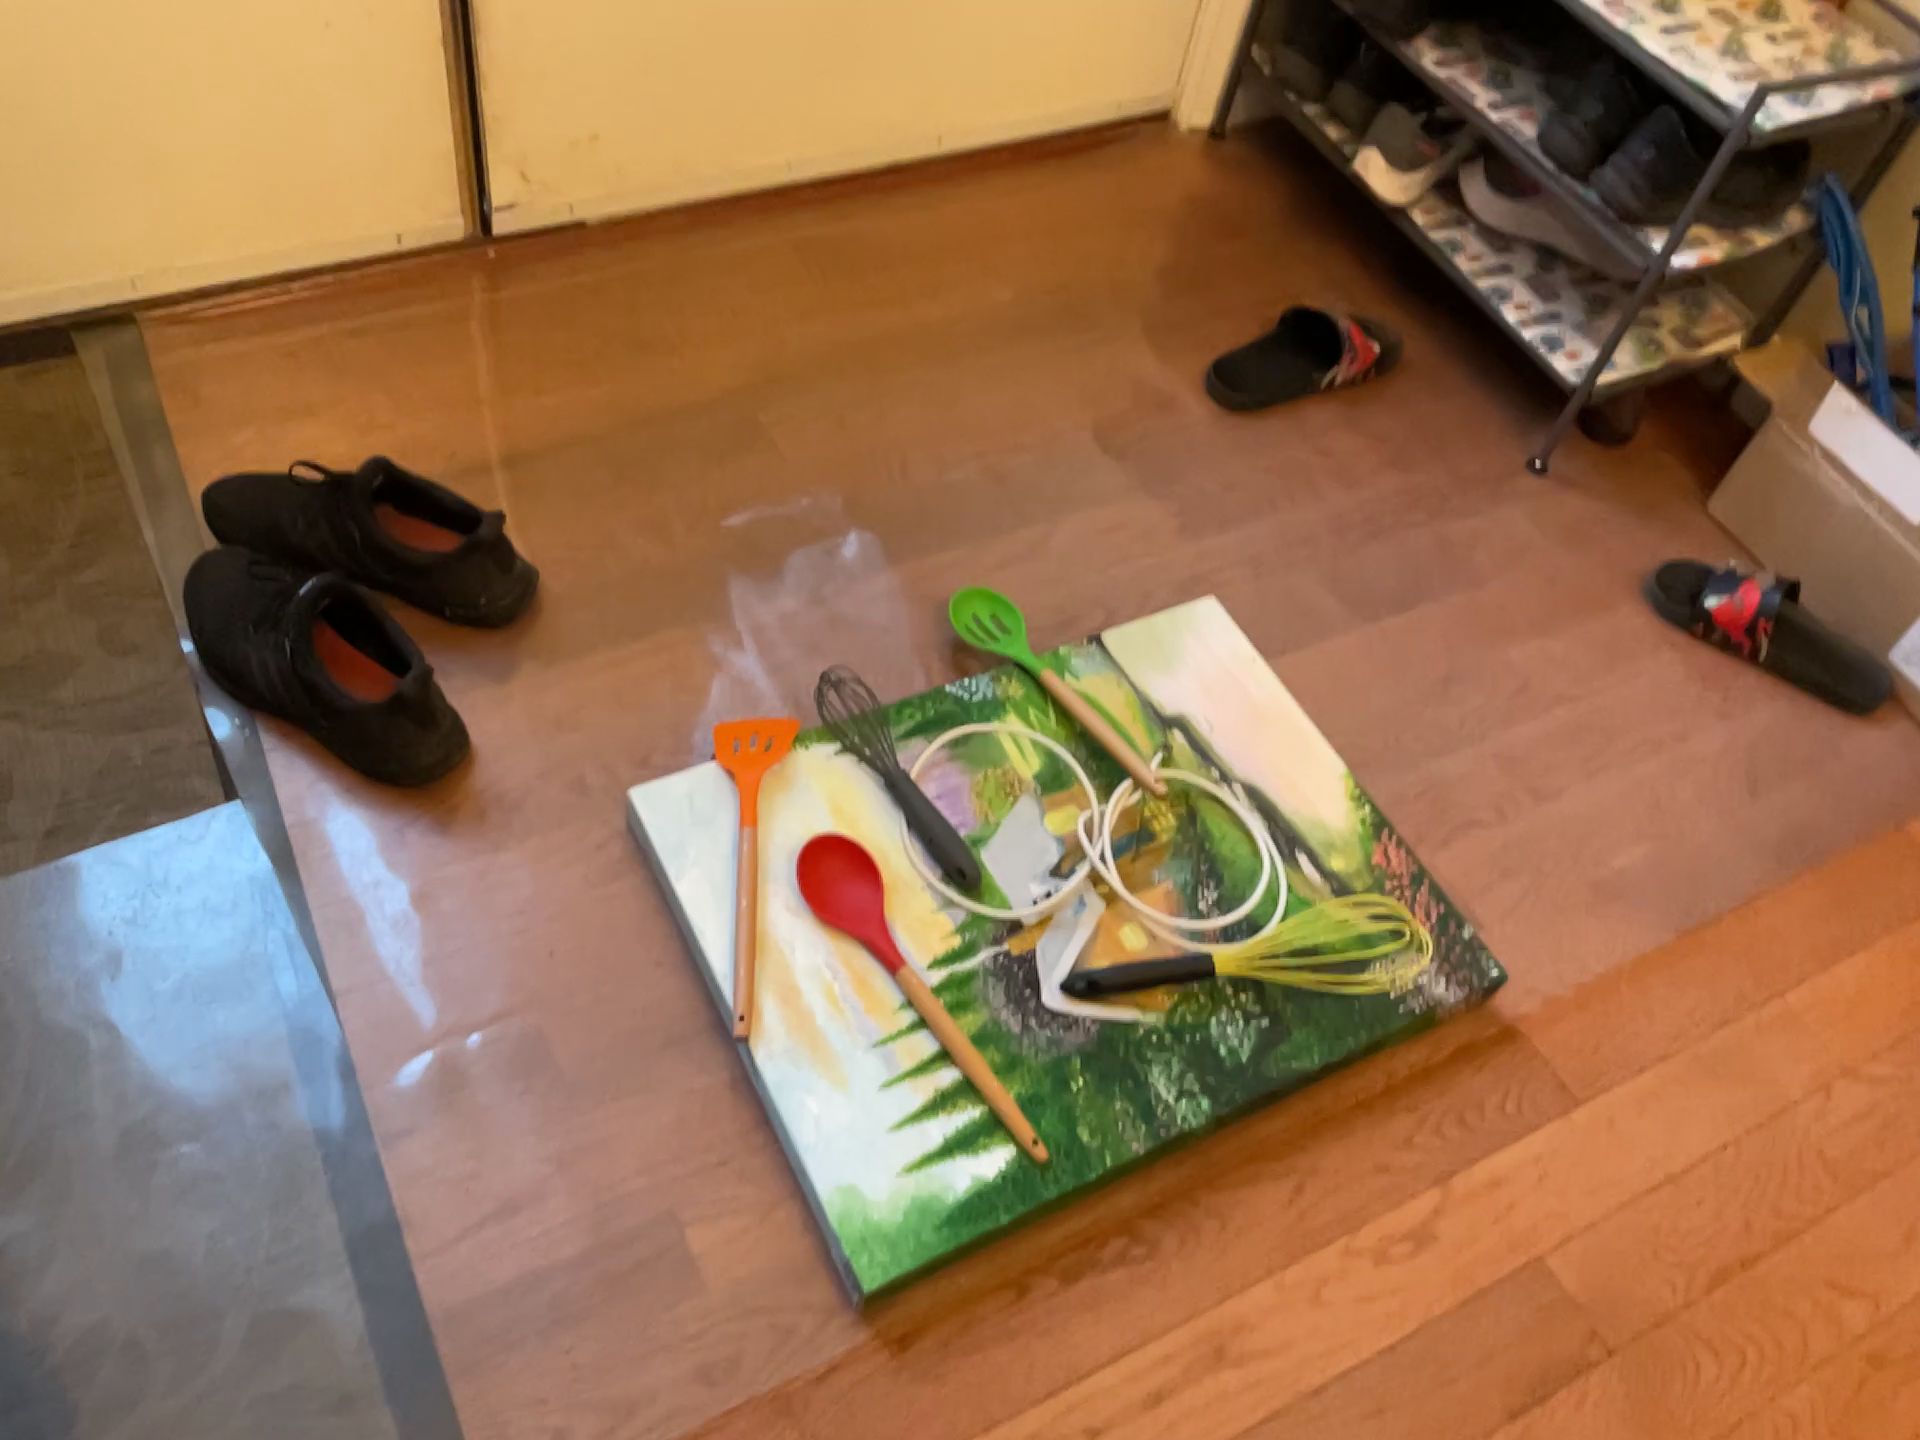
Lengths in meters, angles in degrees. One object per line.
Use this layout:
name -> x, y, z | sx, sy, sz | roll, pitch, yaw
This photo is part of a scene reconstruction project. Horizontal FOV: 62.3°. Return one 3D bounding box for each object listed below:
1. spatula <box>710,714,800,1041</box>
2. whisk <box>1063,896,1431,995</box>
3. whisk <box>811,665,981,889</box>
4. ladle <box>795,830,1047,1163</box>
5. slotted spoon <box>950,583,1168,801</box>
spatula -> -0.174, 0.115, 1.306 | 0.081, 0.041, 0.323 | -4, 55, 0
whisk -> 0.235, 0.196, 1.300 | 0.311, 0.067, 0.080 | -7, 49, -9
whisk -> -0.054, 0.048, 1.357 | 0.055, 0.055, 0.239 | -31, 70, -18
ladle -> -0.030, 0.215, 1.246 | 0.069, 0.031, 0.316 | -27, 65, -27
slotted spoon -> 0.089, -0.027, 1.446 | 0.070, 0.031, 0.314 | -21, 48, -25
